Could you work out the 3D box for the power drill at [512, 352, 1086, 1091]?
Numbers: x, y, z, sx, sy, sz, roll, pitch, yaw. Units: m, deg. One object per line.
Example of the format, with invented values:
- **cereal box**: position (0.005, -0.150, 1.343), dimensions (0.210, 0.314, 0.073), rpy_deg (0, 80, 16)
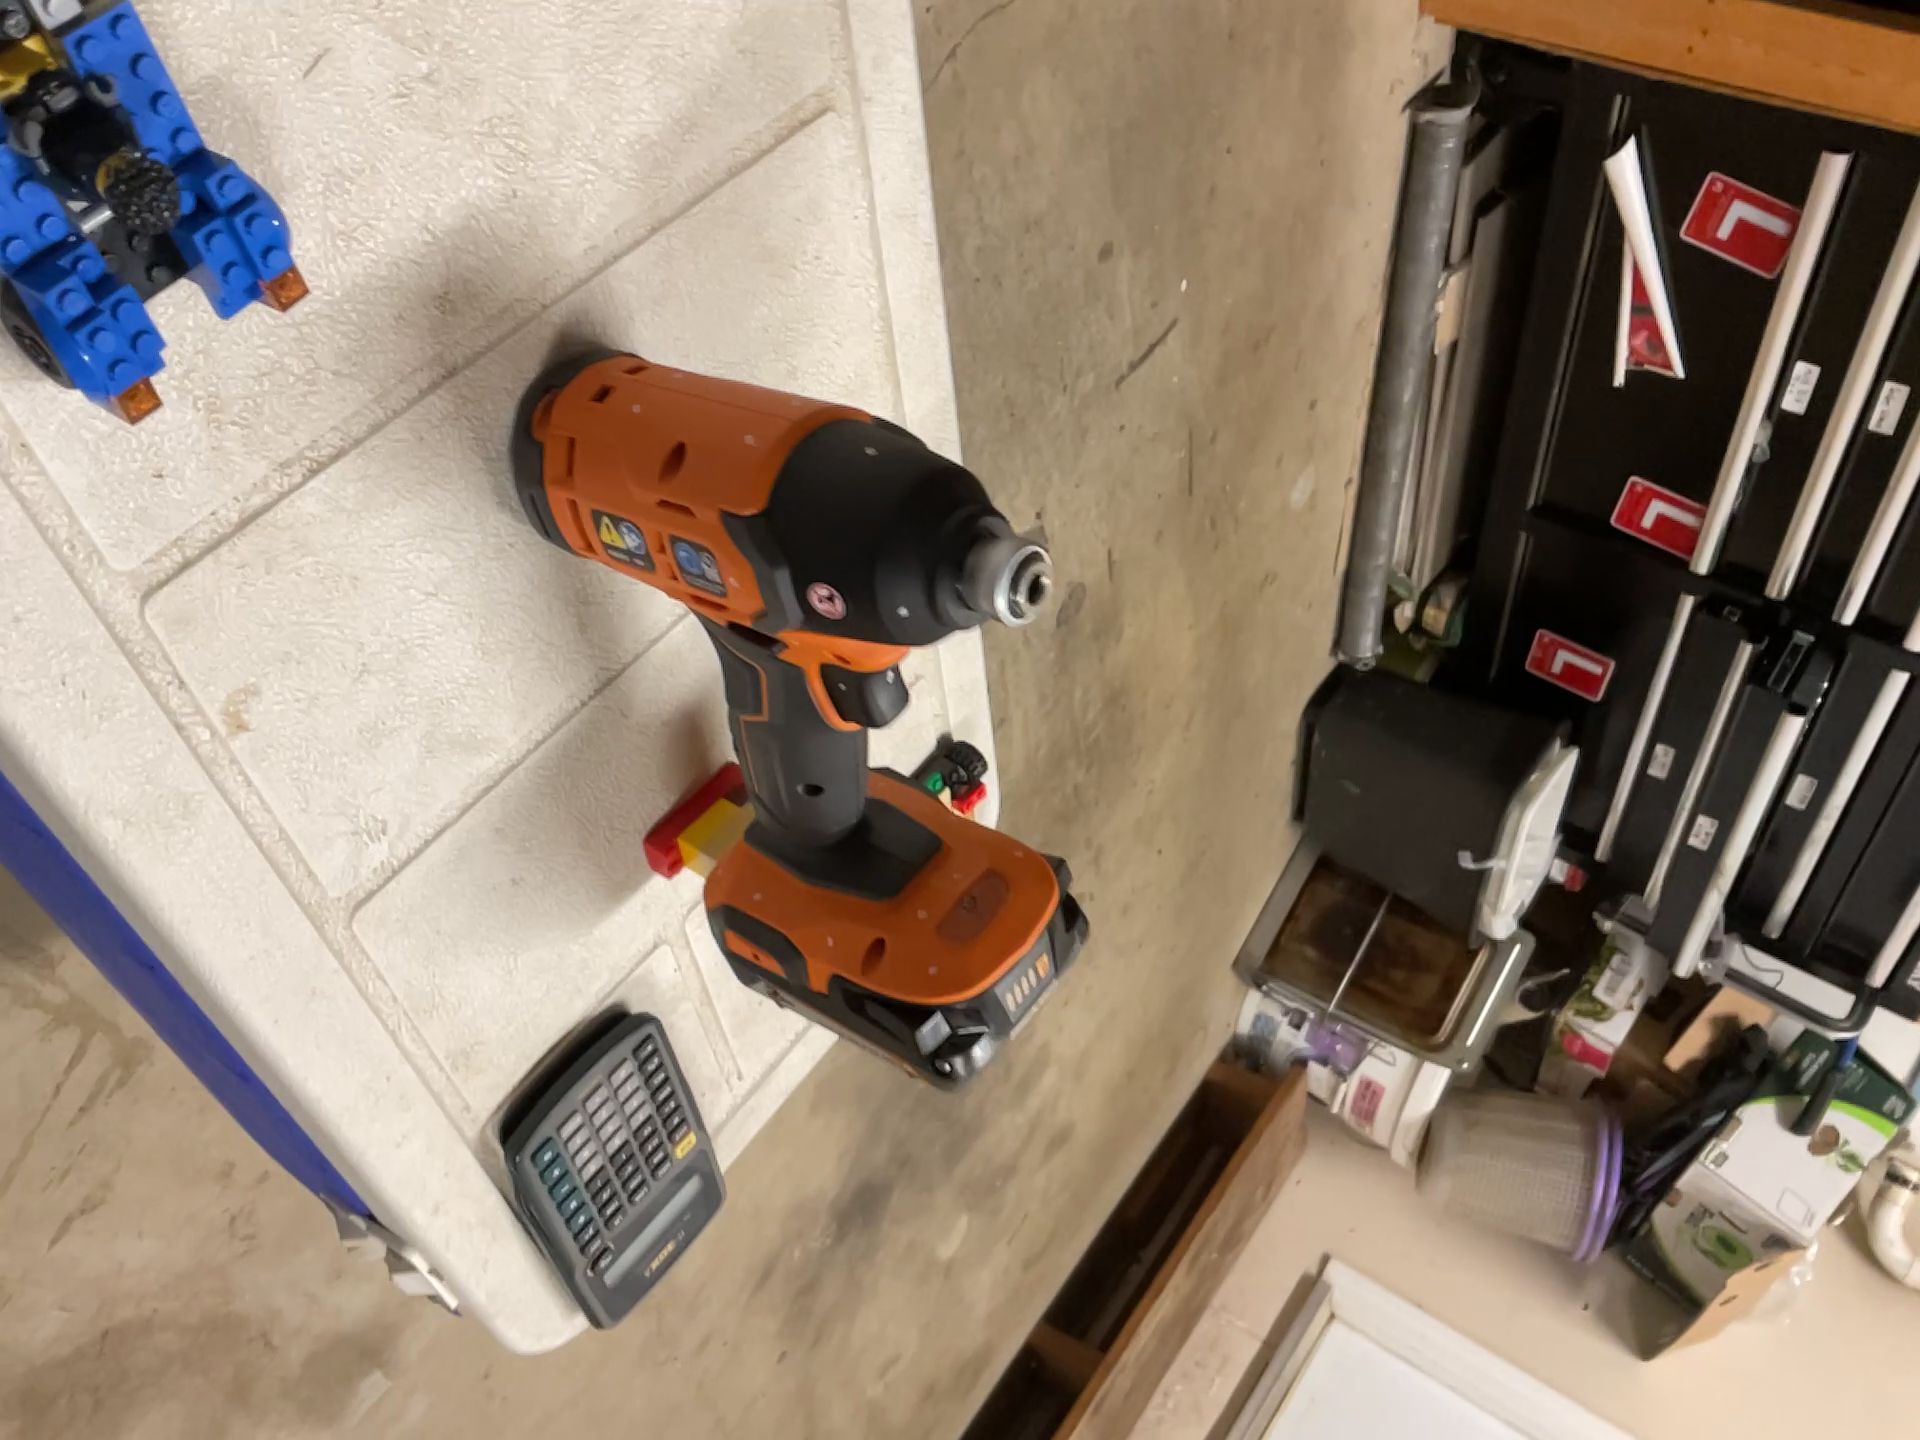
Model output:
- **power drill**: position (-0.031, 0.006, 0.476), dimensions (0.084, 0.164, 0.226), rpy_deg (-45, 137, -31)
